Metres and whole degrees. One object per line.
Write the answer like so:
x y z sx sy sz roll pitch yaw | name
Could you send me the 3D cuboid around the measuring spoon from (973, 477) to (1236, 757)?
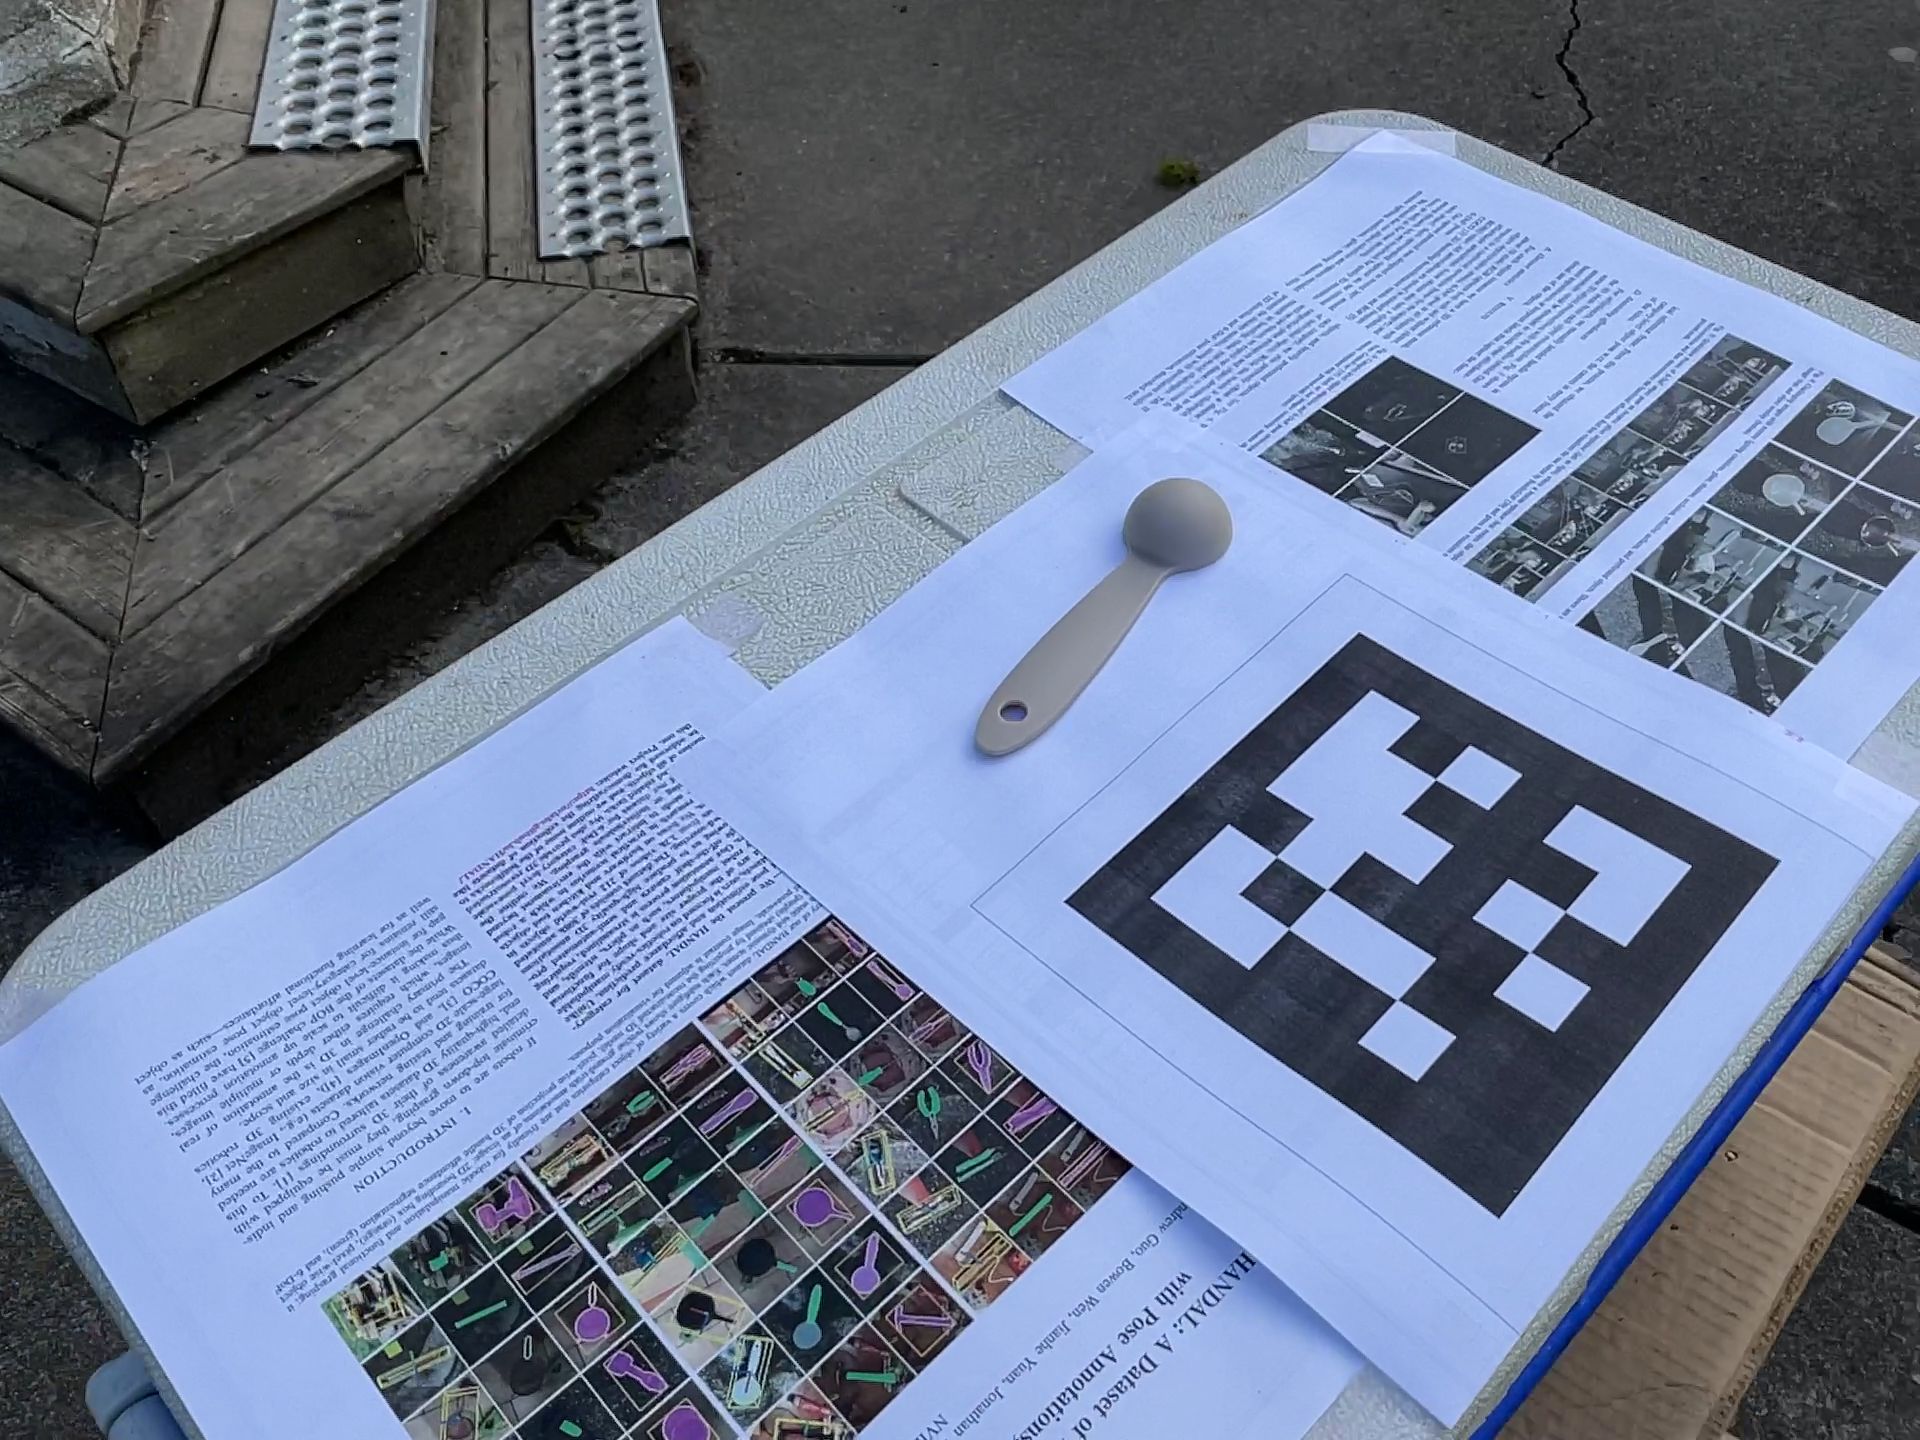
0.042 -0.034 0.466 0.034 0.018 0.124 27 57 23 | measuring spoon
